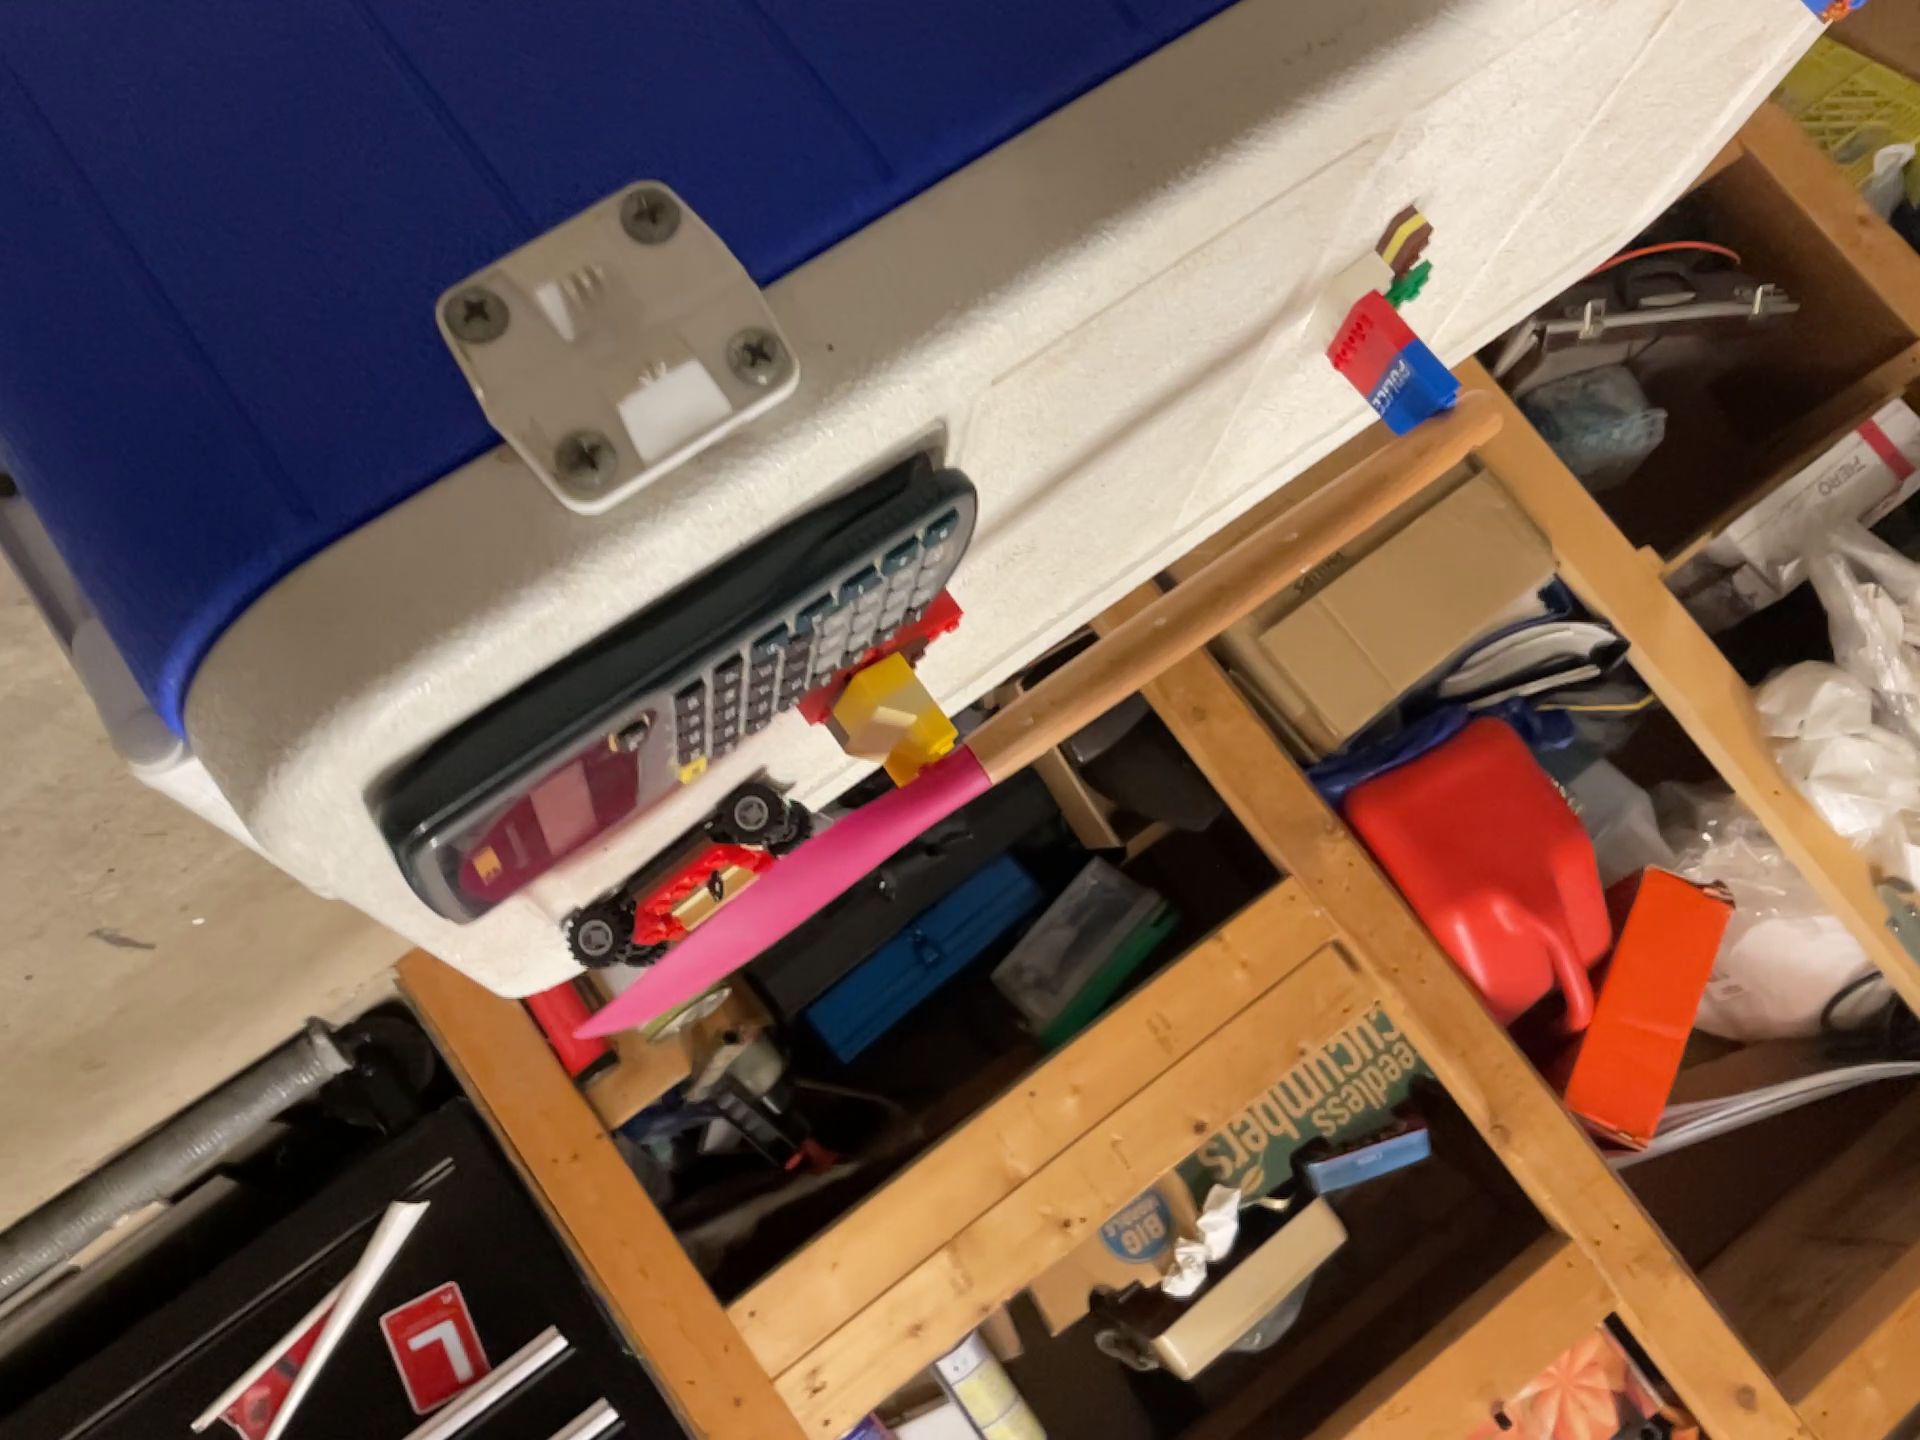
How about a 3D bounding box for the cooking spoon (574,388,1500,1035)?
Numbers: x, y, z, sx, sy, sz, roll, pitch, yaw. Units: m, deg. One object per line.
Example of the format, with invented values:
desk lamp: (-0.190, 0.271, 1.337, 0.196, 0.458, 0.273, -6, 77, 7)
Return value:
cooking spoon: (0.026, -0.003, 0.458, 0.319, 0.017, 0.068, -35, 174, -5)
